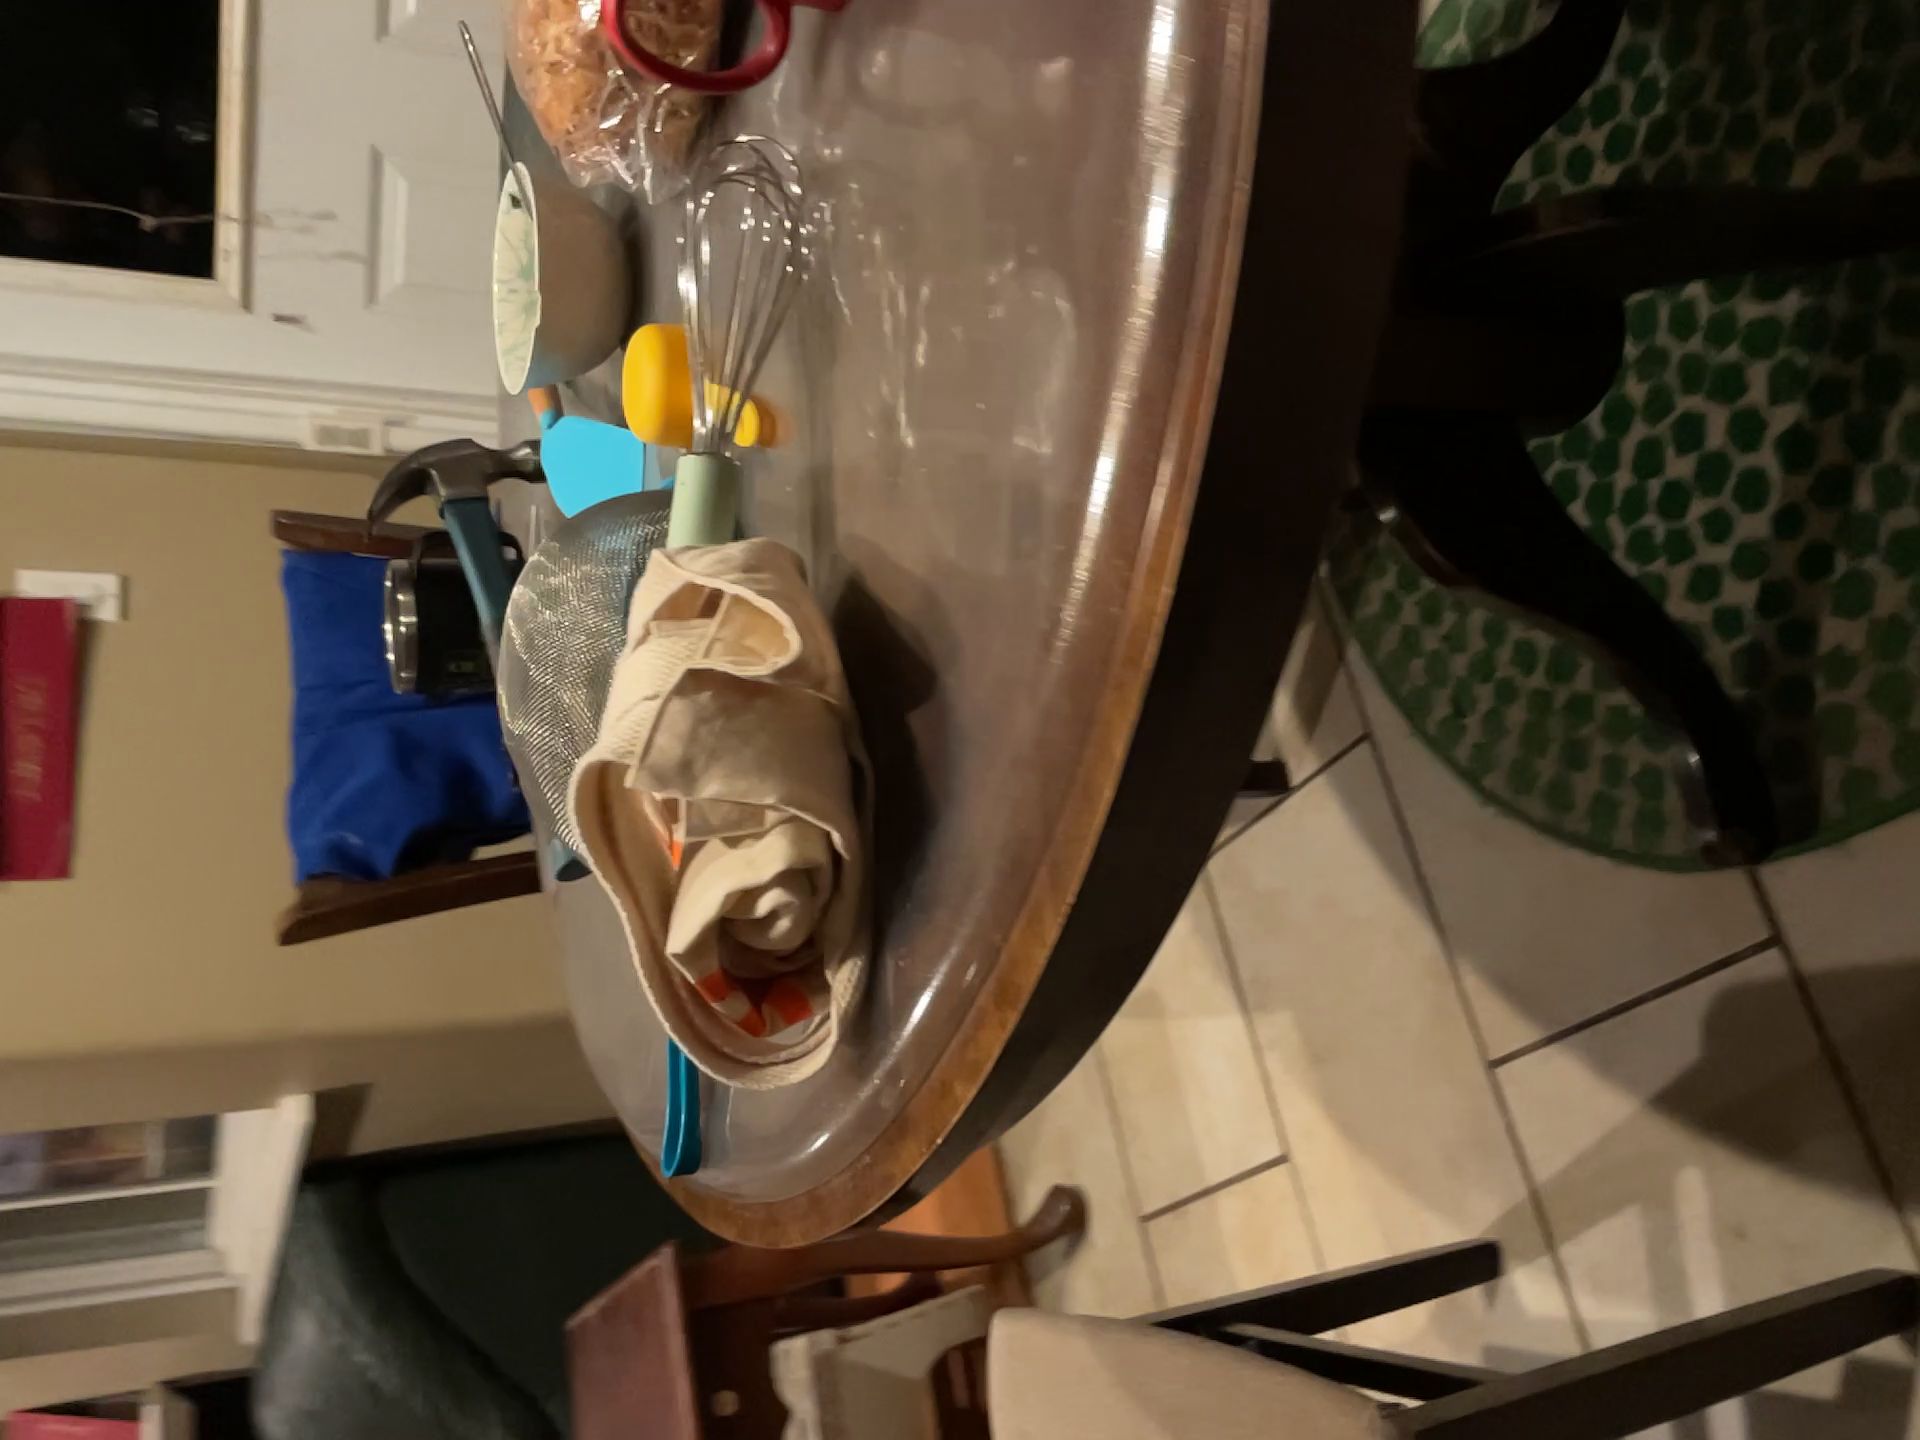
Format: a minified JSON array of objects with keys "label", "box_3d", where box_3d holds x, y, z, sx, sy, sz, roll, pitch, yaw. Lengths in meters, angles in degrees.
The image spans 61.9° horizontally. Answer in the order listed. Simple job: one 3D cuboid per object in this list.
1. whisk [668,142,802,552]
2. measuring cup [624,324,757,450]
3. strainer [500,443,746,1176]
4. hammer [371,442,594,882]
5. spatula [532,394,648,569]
[{"label":"whisk","box_3d":[-0.099,-0.110,0.634,0.059,0.058,0.246,3,84,34]},{"label":"measuring cup","box_3d":[-0.128,-0.149,0.746,0.156,0.029,0.062,-141,55,-60]},{"label":"strainer","box_3d":[-0.171,0.044,0.769,0.211,0.095,0.340,155,116,-63]},{"label":"hammer","box_3d":[-0.273,-0.046,0.991,0.331,0.128,0.033,63,148,28]},{"label":"spatula","box_3d":[-0.245,-0.190,1.003,0.318,0.044,0.082,-124,40,-55]}]
